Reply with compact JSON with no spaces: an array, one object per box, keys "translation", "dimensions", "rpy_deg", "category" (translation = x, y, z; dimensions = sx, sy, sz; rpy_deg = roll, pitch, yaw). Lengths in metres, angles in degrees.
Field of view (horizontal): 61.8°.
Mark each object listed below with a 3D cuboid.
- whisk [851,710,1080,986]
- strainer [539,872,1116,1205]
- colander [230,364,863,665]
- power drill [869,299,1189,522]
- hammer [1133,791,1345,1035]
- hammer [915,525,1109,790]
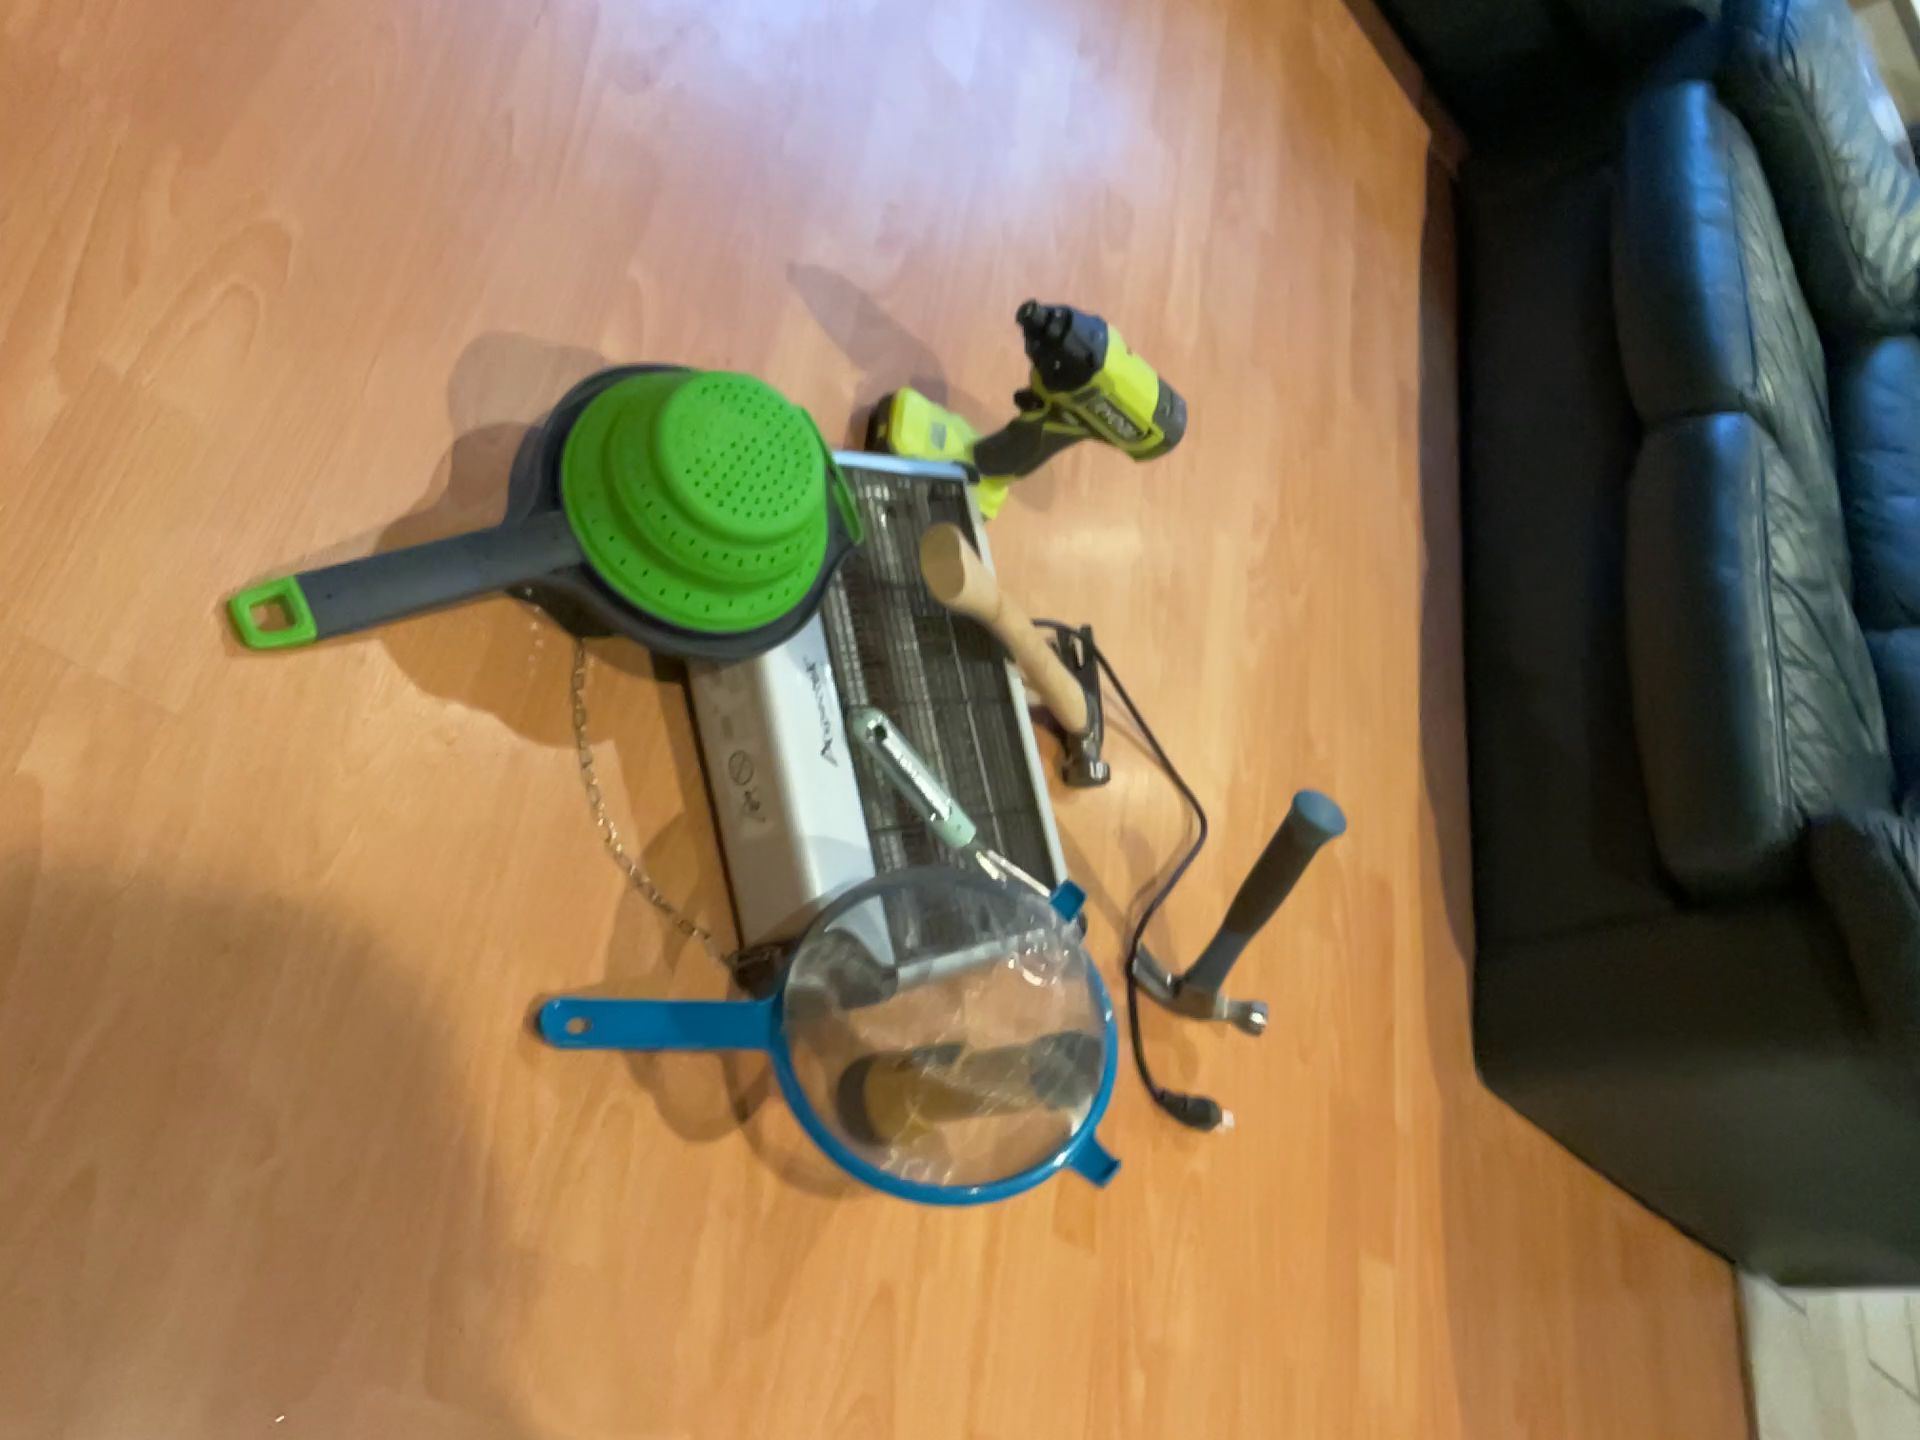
[{"translation":[0.006,0.089,1.090],"dimensions":[0.058,0.059,0.246],"rpy_deg":[-44,109,-18],"category":"whisk"},{"translation":[-0.066,0.162,0.921],"dimensions":[0.340,0.095,0.211],"rpy_deg":[3,56,-13],"category":"strainer"},{"translation":[-0.212,-0.119,0.932],"dimensions":[0.397,0.094,0.204],"rpy_deg":[-21,85,-35],"category":"colander"},{"translation":[0.042,-0.238,1.256],"dimensions":[0.171,0.223,0.080],"rpy_deg":[32,52,-38],"category":"power drill"},{"translation":[0.228,0.156,1.271],"dimensions":[0.128,0.330,0.033],"rpy_deg":[17,54,0],"category":"hammer"},{"translation":[0.047,-0.064,1.217],"dimensions":[0.410,0.038,0.146],"rpy_deg":[42,42,-66],"category":"hammer"}]
